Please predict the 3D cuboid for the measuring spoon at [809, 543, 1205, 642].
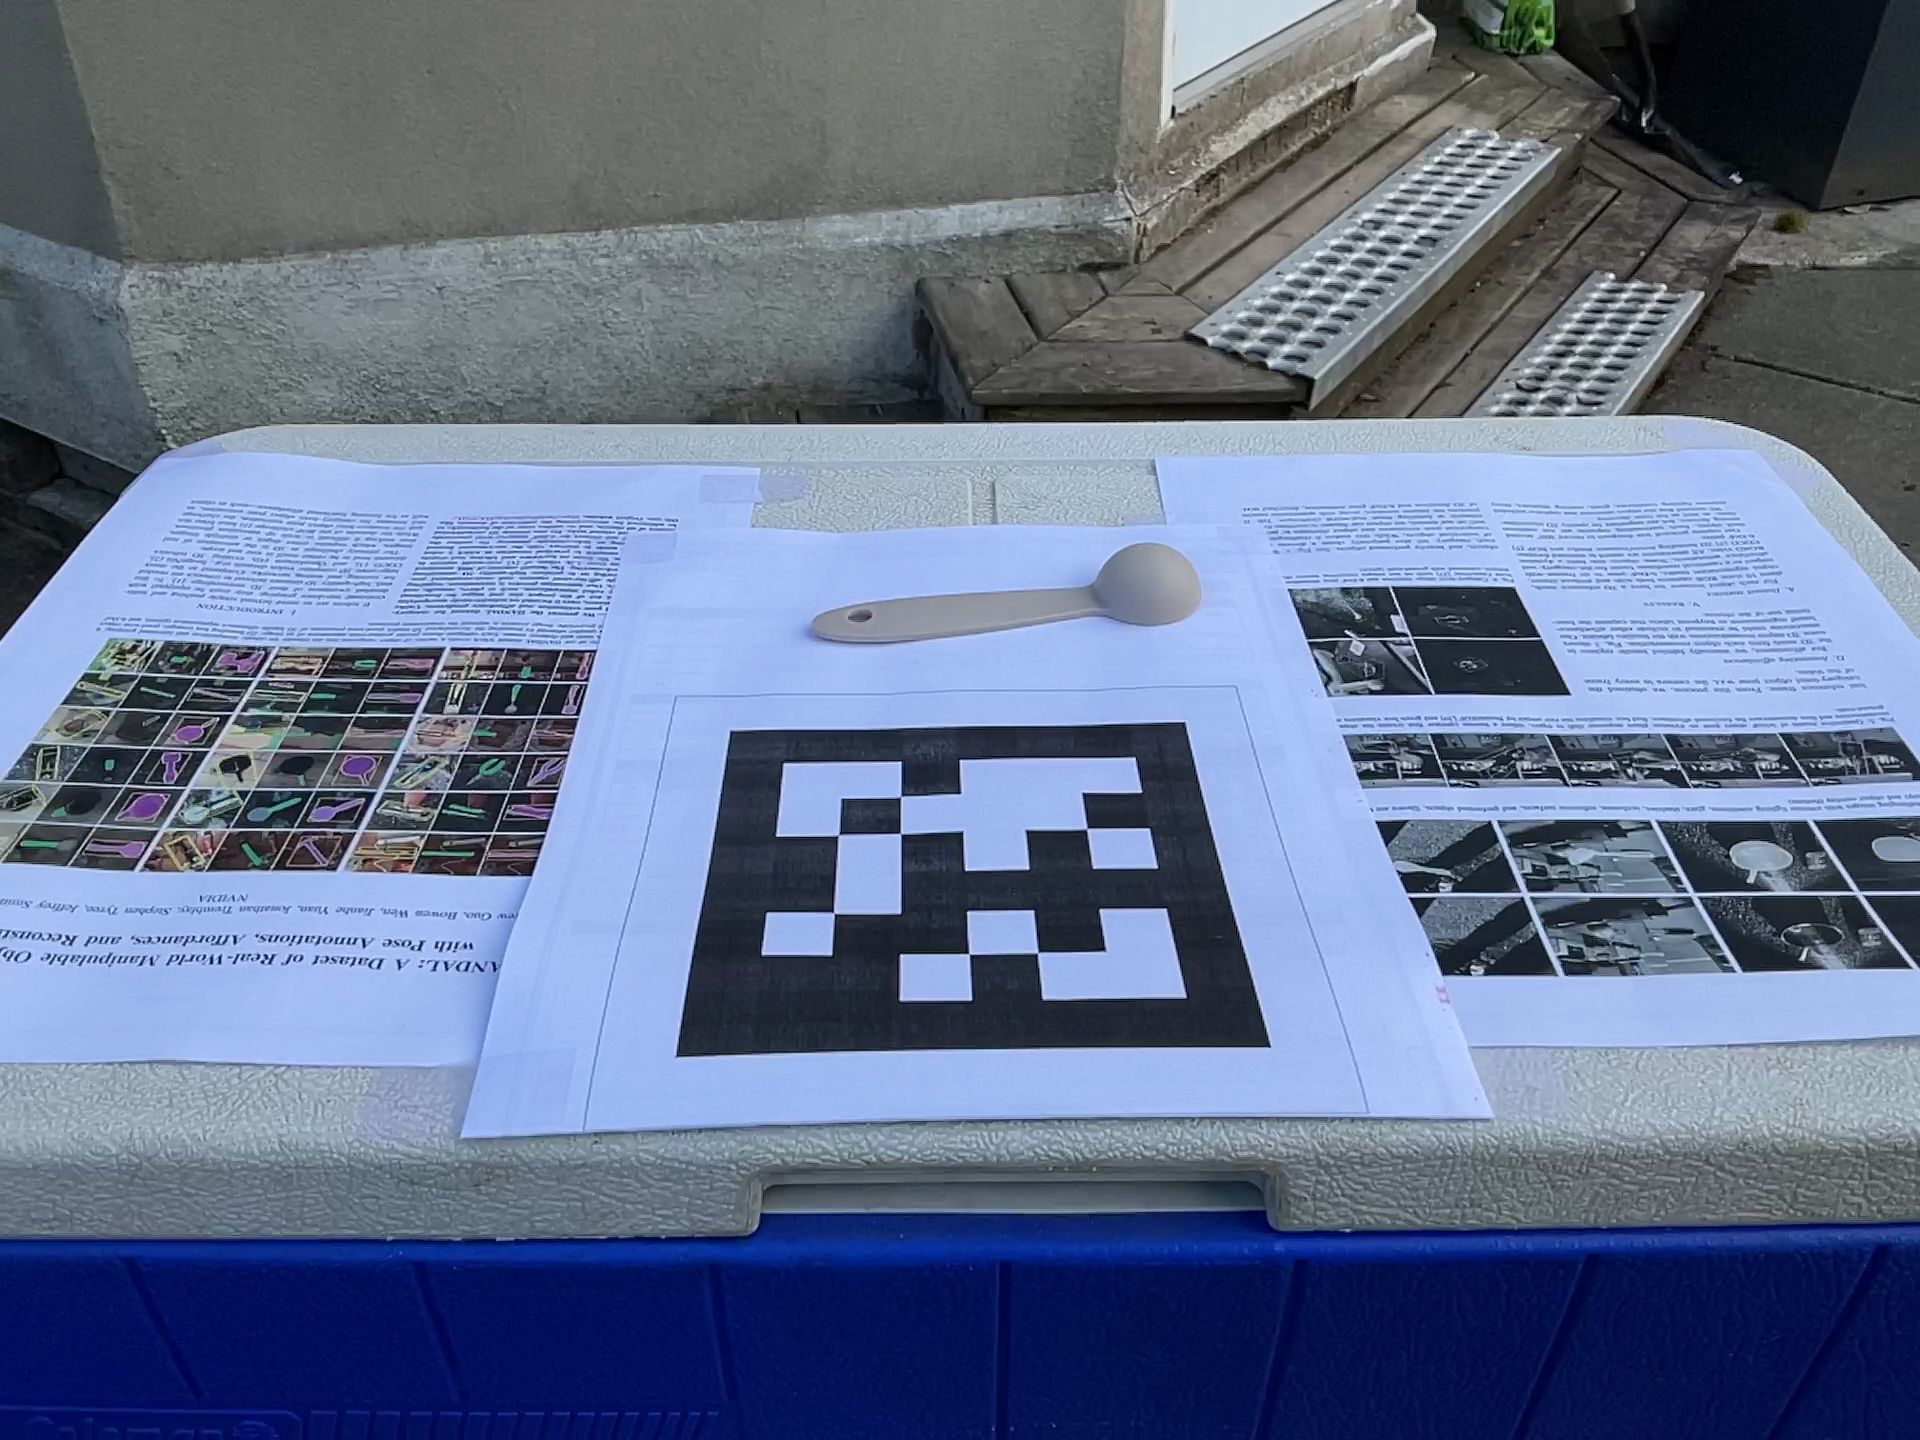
[{"bbox_3d":[0.015,-0.040,0.490,0.124,0.018,0.034,-7,38,-8],"label":"measuring spoon"}]
